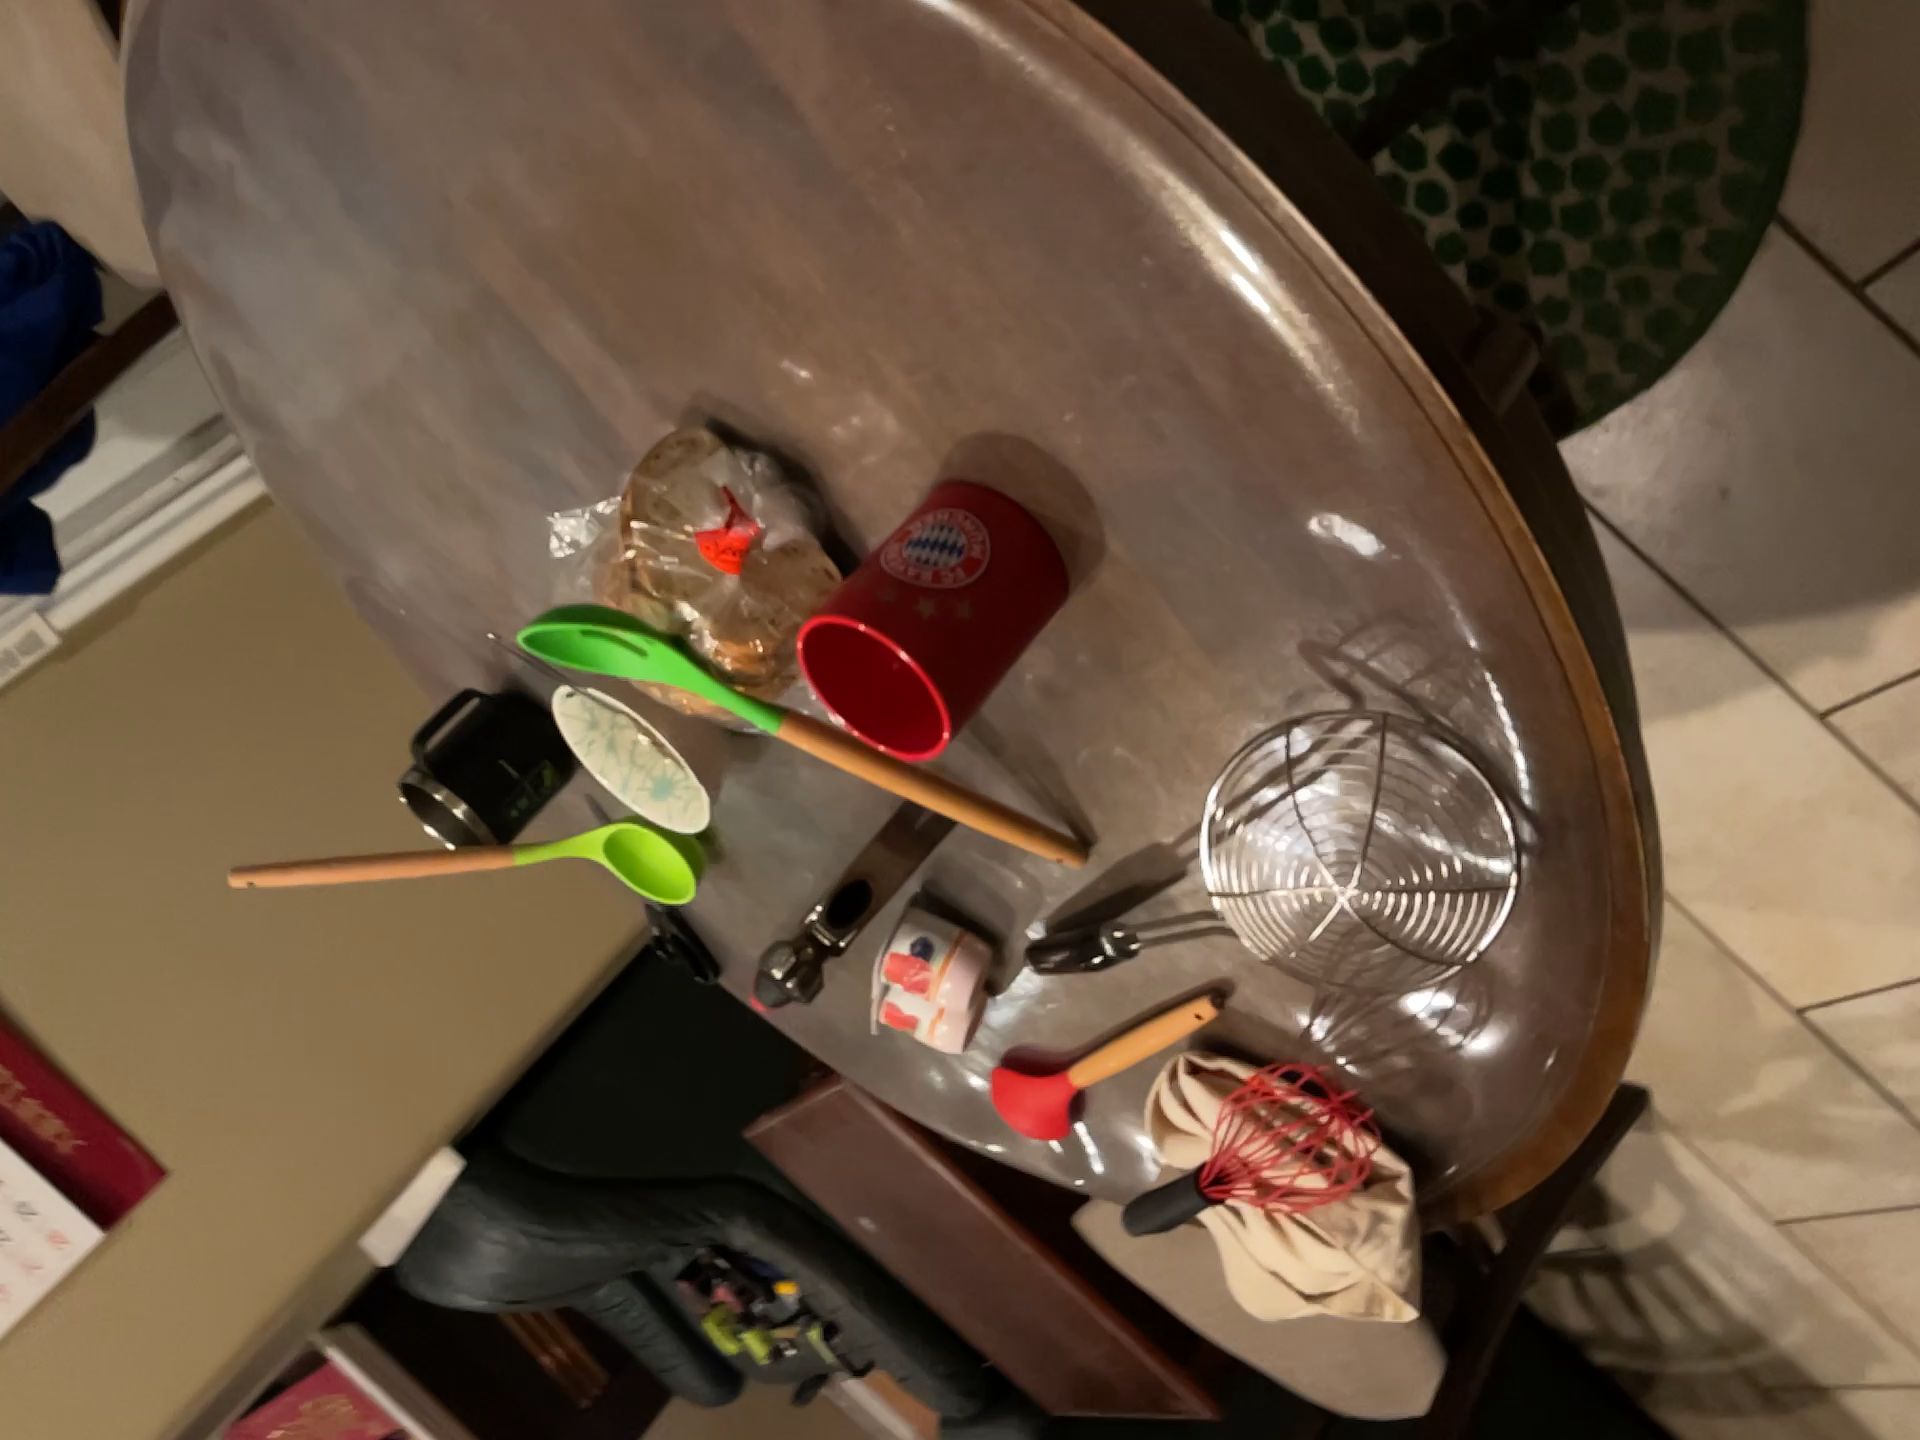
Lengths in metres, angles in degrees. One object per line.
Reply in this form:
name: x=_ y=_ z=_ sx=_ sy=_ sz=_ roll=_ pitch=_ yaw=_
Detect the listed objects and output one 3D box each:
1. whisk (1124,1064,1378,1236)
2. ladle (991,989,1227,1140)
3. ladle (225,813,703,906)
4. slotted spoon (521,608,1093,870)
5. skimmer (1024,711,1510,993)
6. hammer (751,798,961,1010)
whisk: x=0.147 y=0.250 z=0.872 sx=0.073 sy=0.073 sz=0.295 roll=36 pitch=150 yaw=5
ladle: x=0.088 y=0.218 z=0.995 sx=0.069 sy=0.031 sz=0.315 roll=40 pitch=147 yaw=1
ladle: x=-0.342 y=0.107 z=1.112 sx=0.078 sy=0.320 sz=0.062 roll=102 pitch=158 yaw=-44
slotted spoon: x=-0.067 y=0.012 z=0.800 sx=0.313 sy=0.031 sz=0.070 roll=25 pitch=158 yaw=-18
skimmer: x=0.122 y=0.085 z=0.783 sx=0.127 sy=0.090 sz=0.363 roll=51 pitch=159 yaw=-2
hammer: x=-0.087 y=0.137 z=1.038 sx=0.038 sy=0.143 sz=0.386 roll=41 pitch=161 yaw=1
